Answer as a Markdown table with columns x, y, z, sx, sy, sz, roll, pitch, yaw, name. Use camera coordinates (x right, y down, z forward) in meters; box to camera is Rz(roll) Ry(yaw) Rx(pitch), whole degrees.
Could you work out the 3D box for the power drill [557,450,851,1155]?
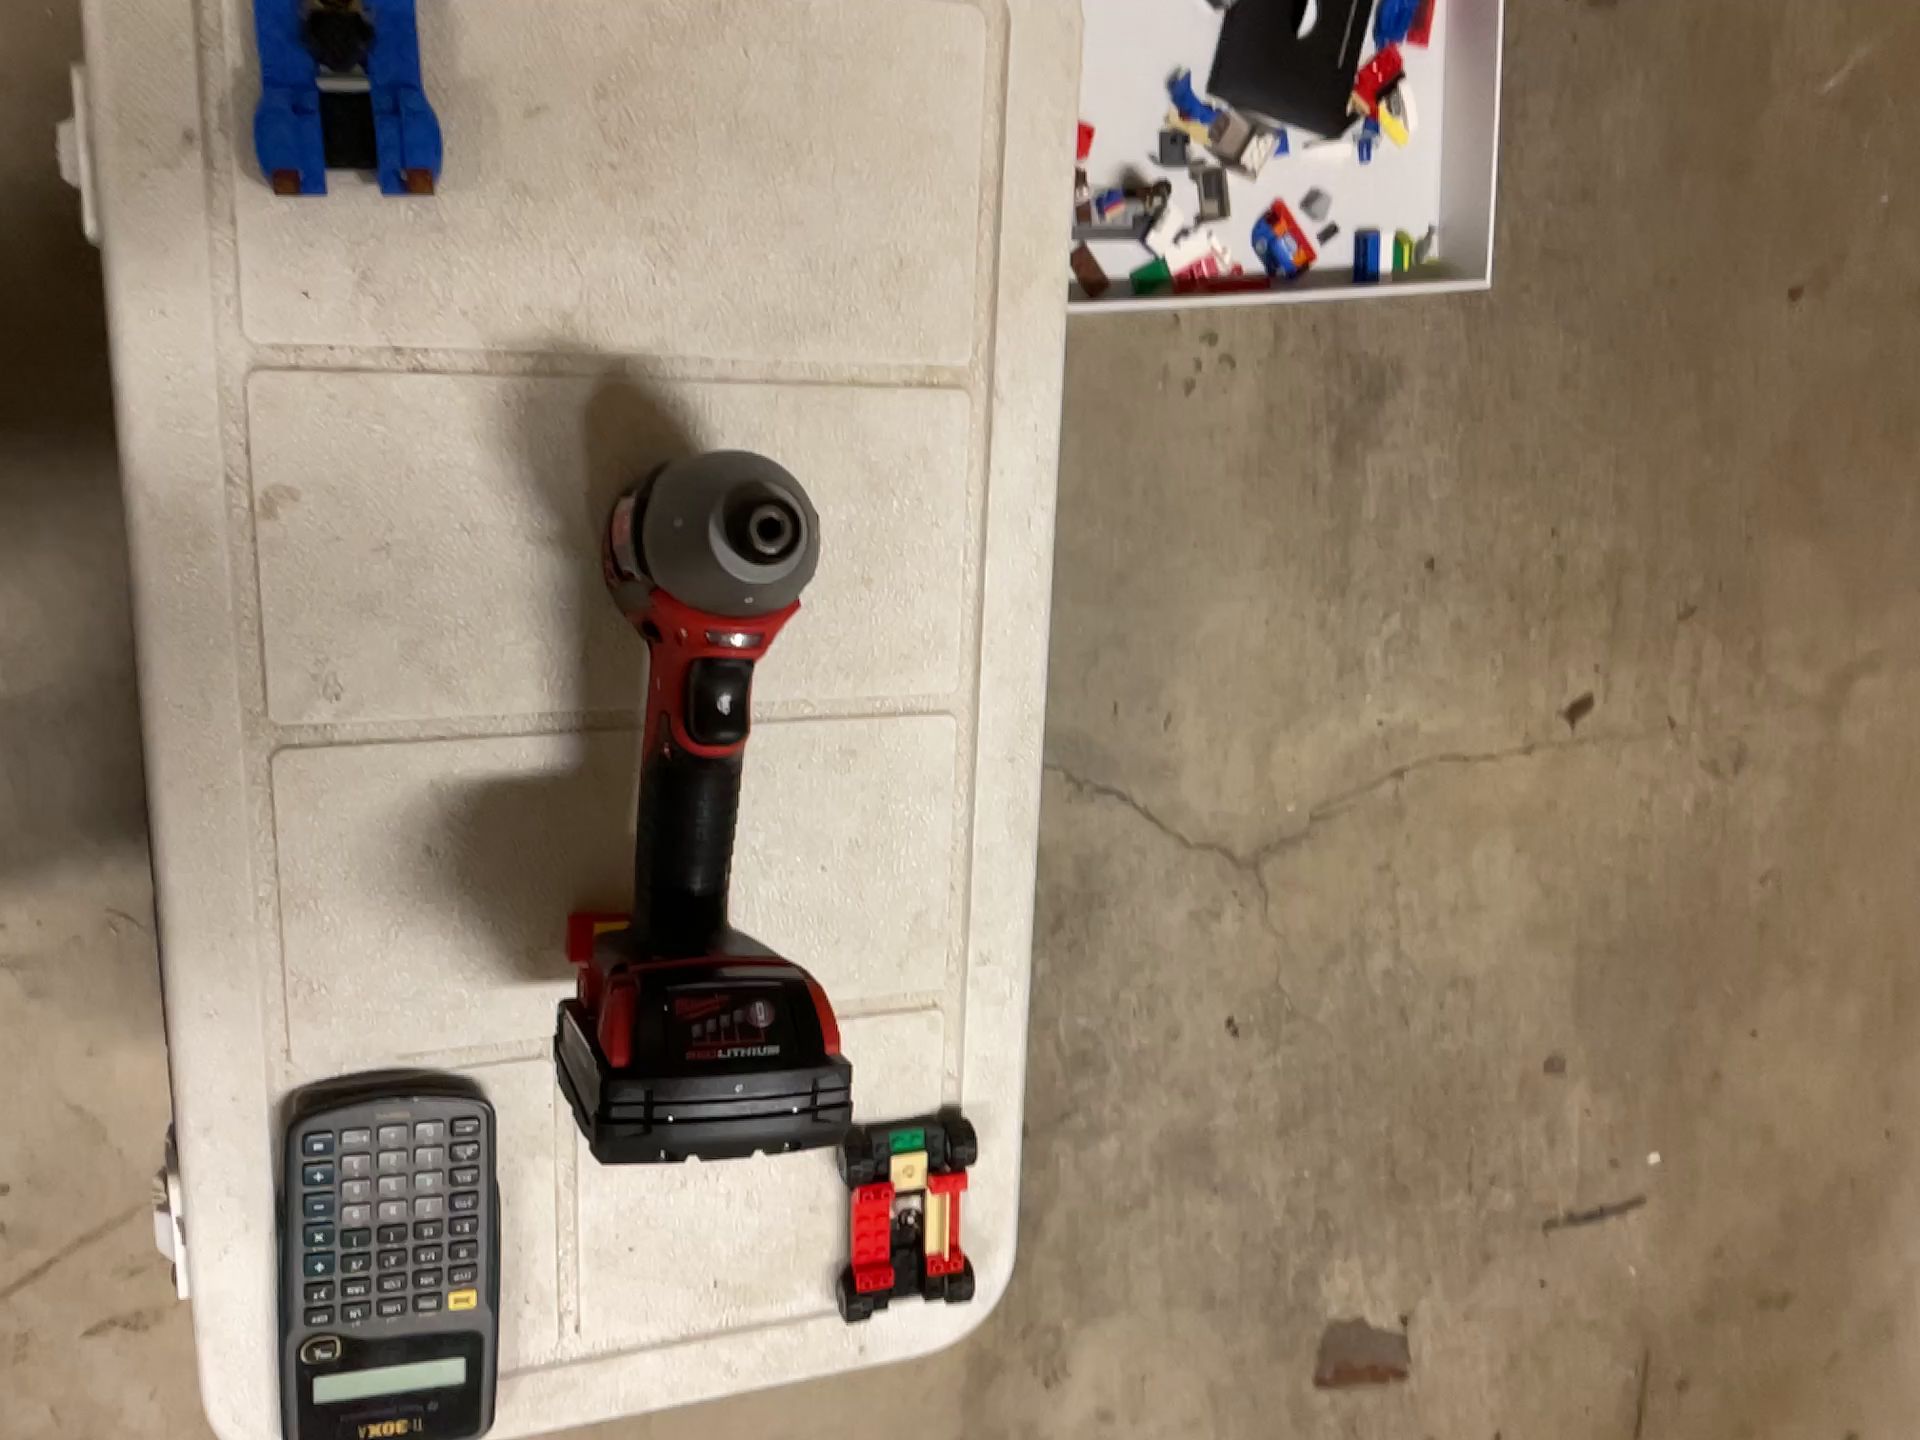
| x | y | z | sx | sy | sz | roll | pitch | yaw | name |
| --- | --- | --- | --- | --- | --- | --- | --- | --- | --- |
| -0.084 | 0.022 | 0.528 | 0.078 | 0.143 | 0.219 | 2 | 91 | -22 | power drill |
